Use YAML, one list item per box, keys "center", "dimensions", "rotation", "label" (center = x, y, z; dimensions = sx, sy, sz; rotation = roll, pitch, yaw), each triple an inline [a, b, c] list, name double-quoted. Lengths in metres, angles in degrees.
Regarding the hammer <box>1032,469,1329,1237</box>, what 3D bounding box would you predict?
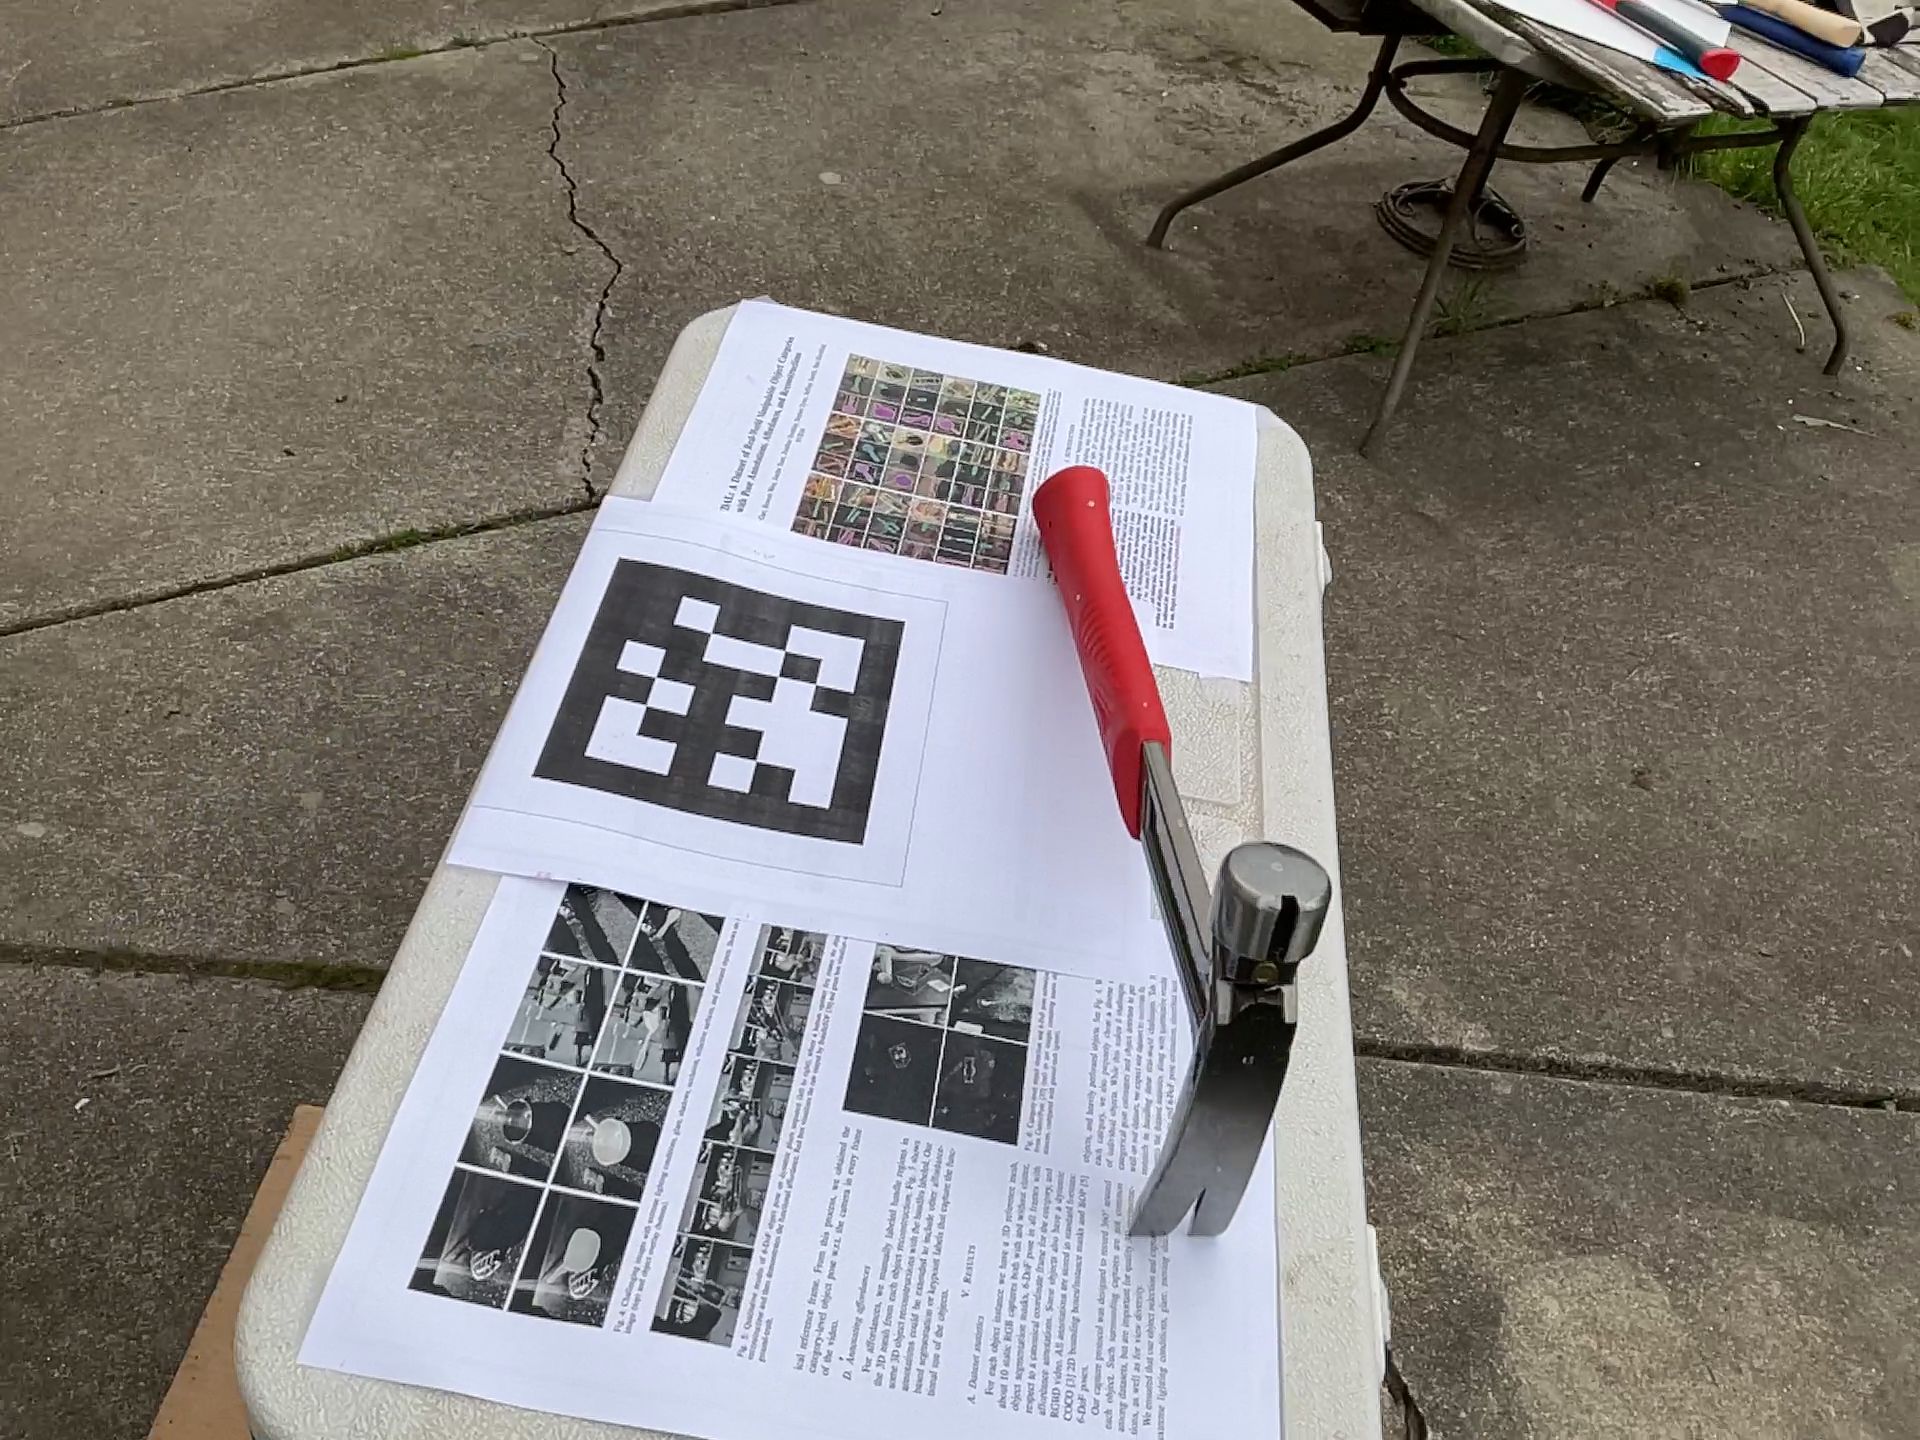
- center: [0.065, 0.011, 0.613]
  dimensions: [0.036, 0.149, 0.359]
  rotation: [4, 34, -8]
  label: "hammer"
